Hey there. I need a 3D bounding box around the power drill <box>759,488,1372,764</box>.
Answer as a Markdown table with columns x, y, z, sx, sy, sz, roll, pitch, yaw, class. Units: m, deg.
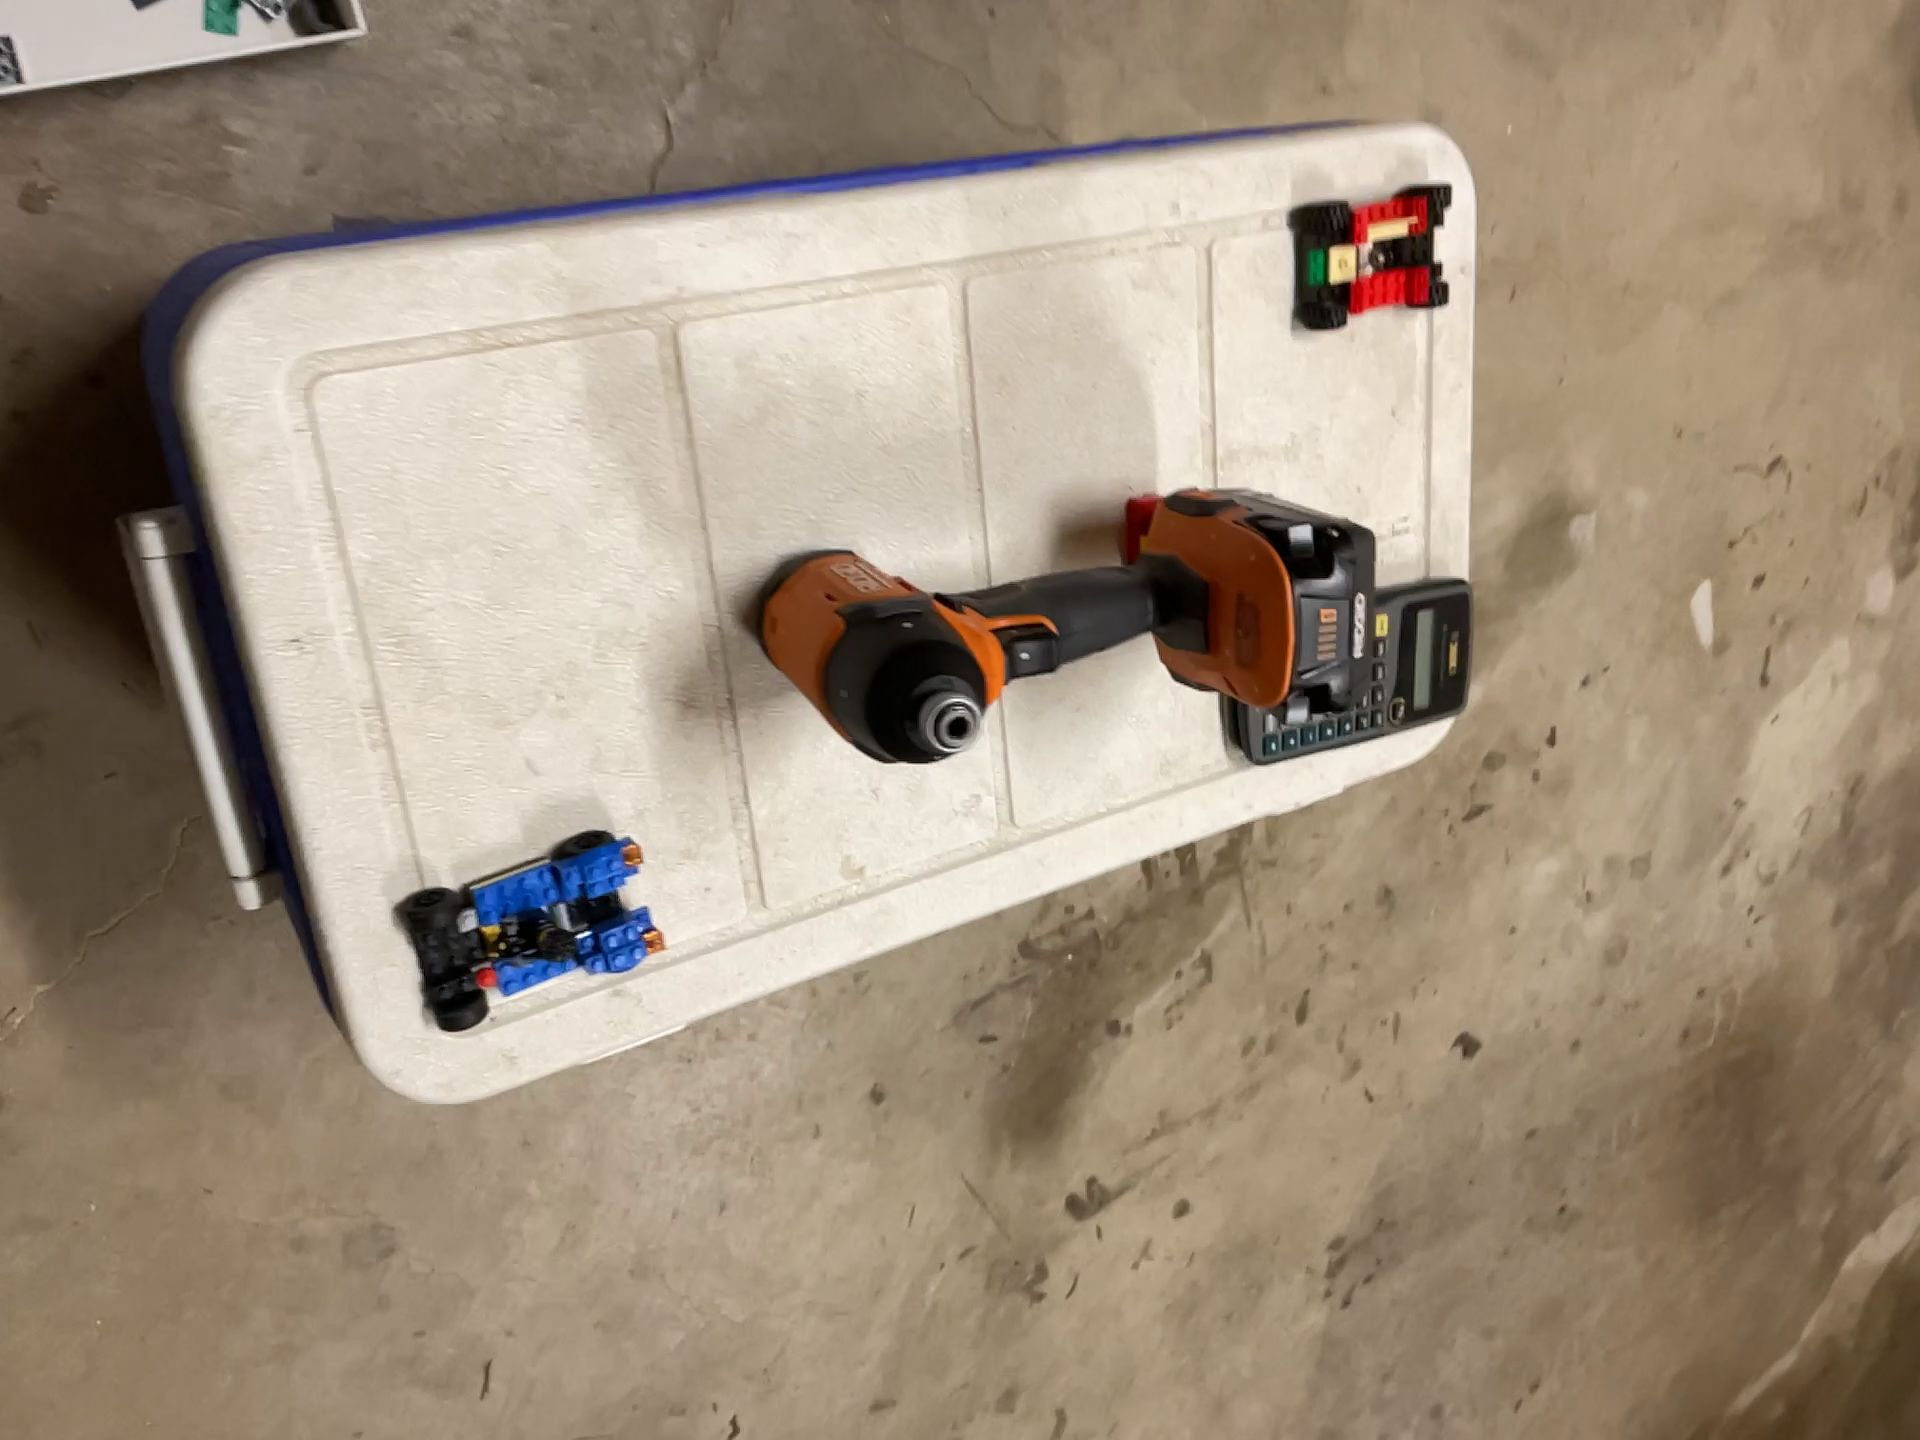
| x | y | z | sx | sy | sz | roll | pitch | yaw | class |
| --- | --- | --- | --- | --- | --- | --- | --- | --- | --- |
| 0.047 | -0.034 | 0.637 | 0.227 | 0.164 | 0.084 | -9 | 110 | -17 | power drill |
